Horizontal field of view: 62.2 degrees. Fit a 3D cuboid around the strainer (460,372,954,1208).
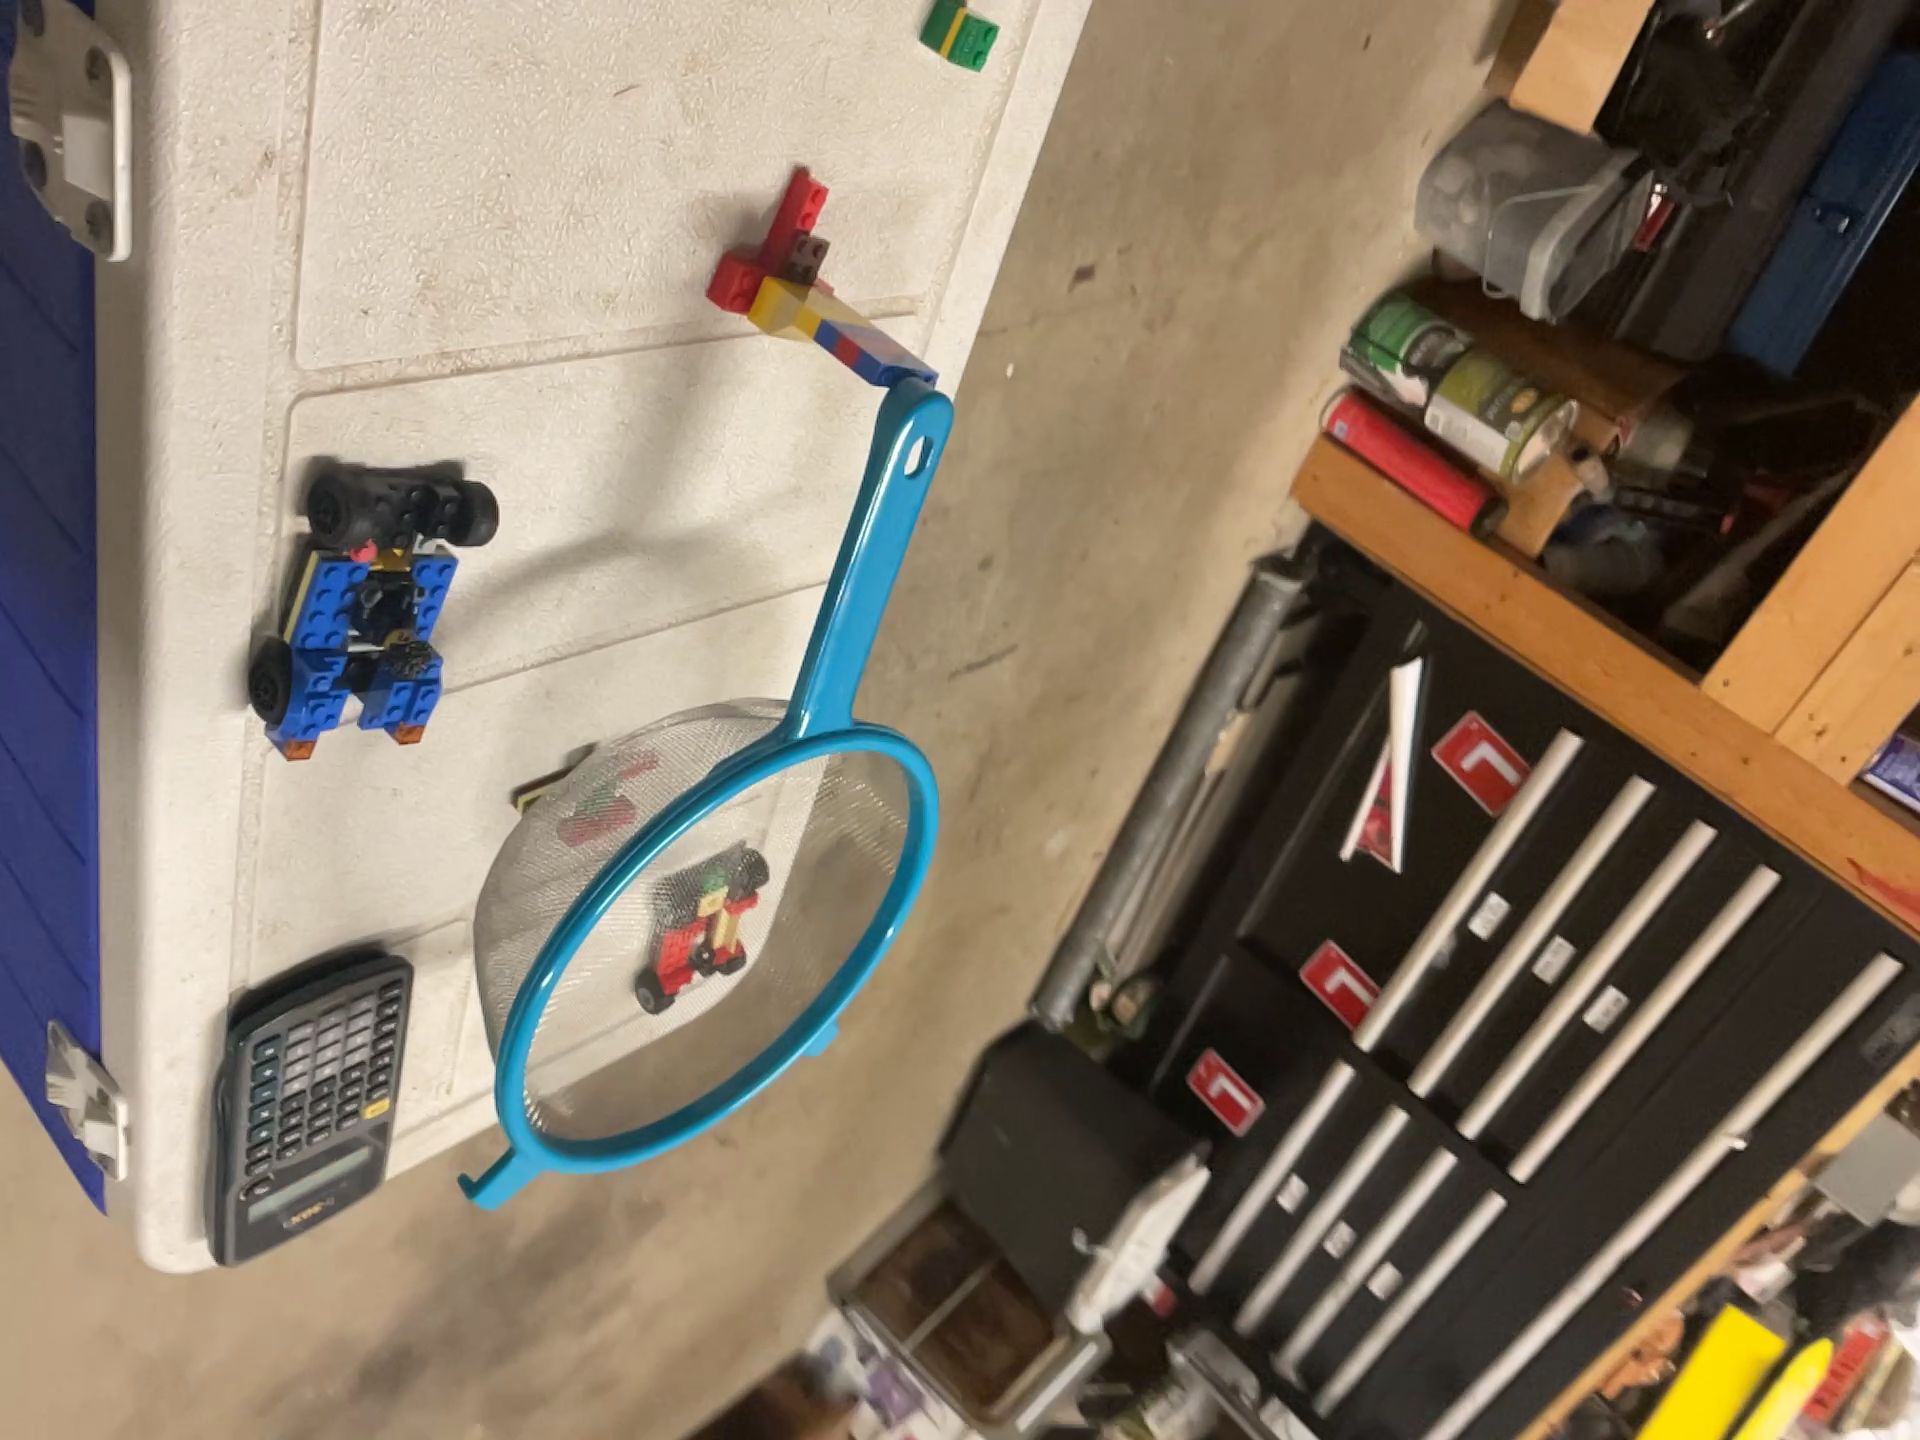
[{"bbox_3d":[-0.092,0.014,0.603,0.211,0.095,0.340,-14,133,-50],"label":"strainer"}]
